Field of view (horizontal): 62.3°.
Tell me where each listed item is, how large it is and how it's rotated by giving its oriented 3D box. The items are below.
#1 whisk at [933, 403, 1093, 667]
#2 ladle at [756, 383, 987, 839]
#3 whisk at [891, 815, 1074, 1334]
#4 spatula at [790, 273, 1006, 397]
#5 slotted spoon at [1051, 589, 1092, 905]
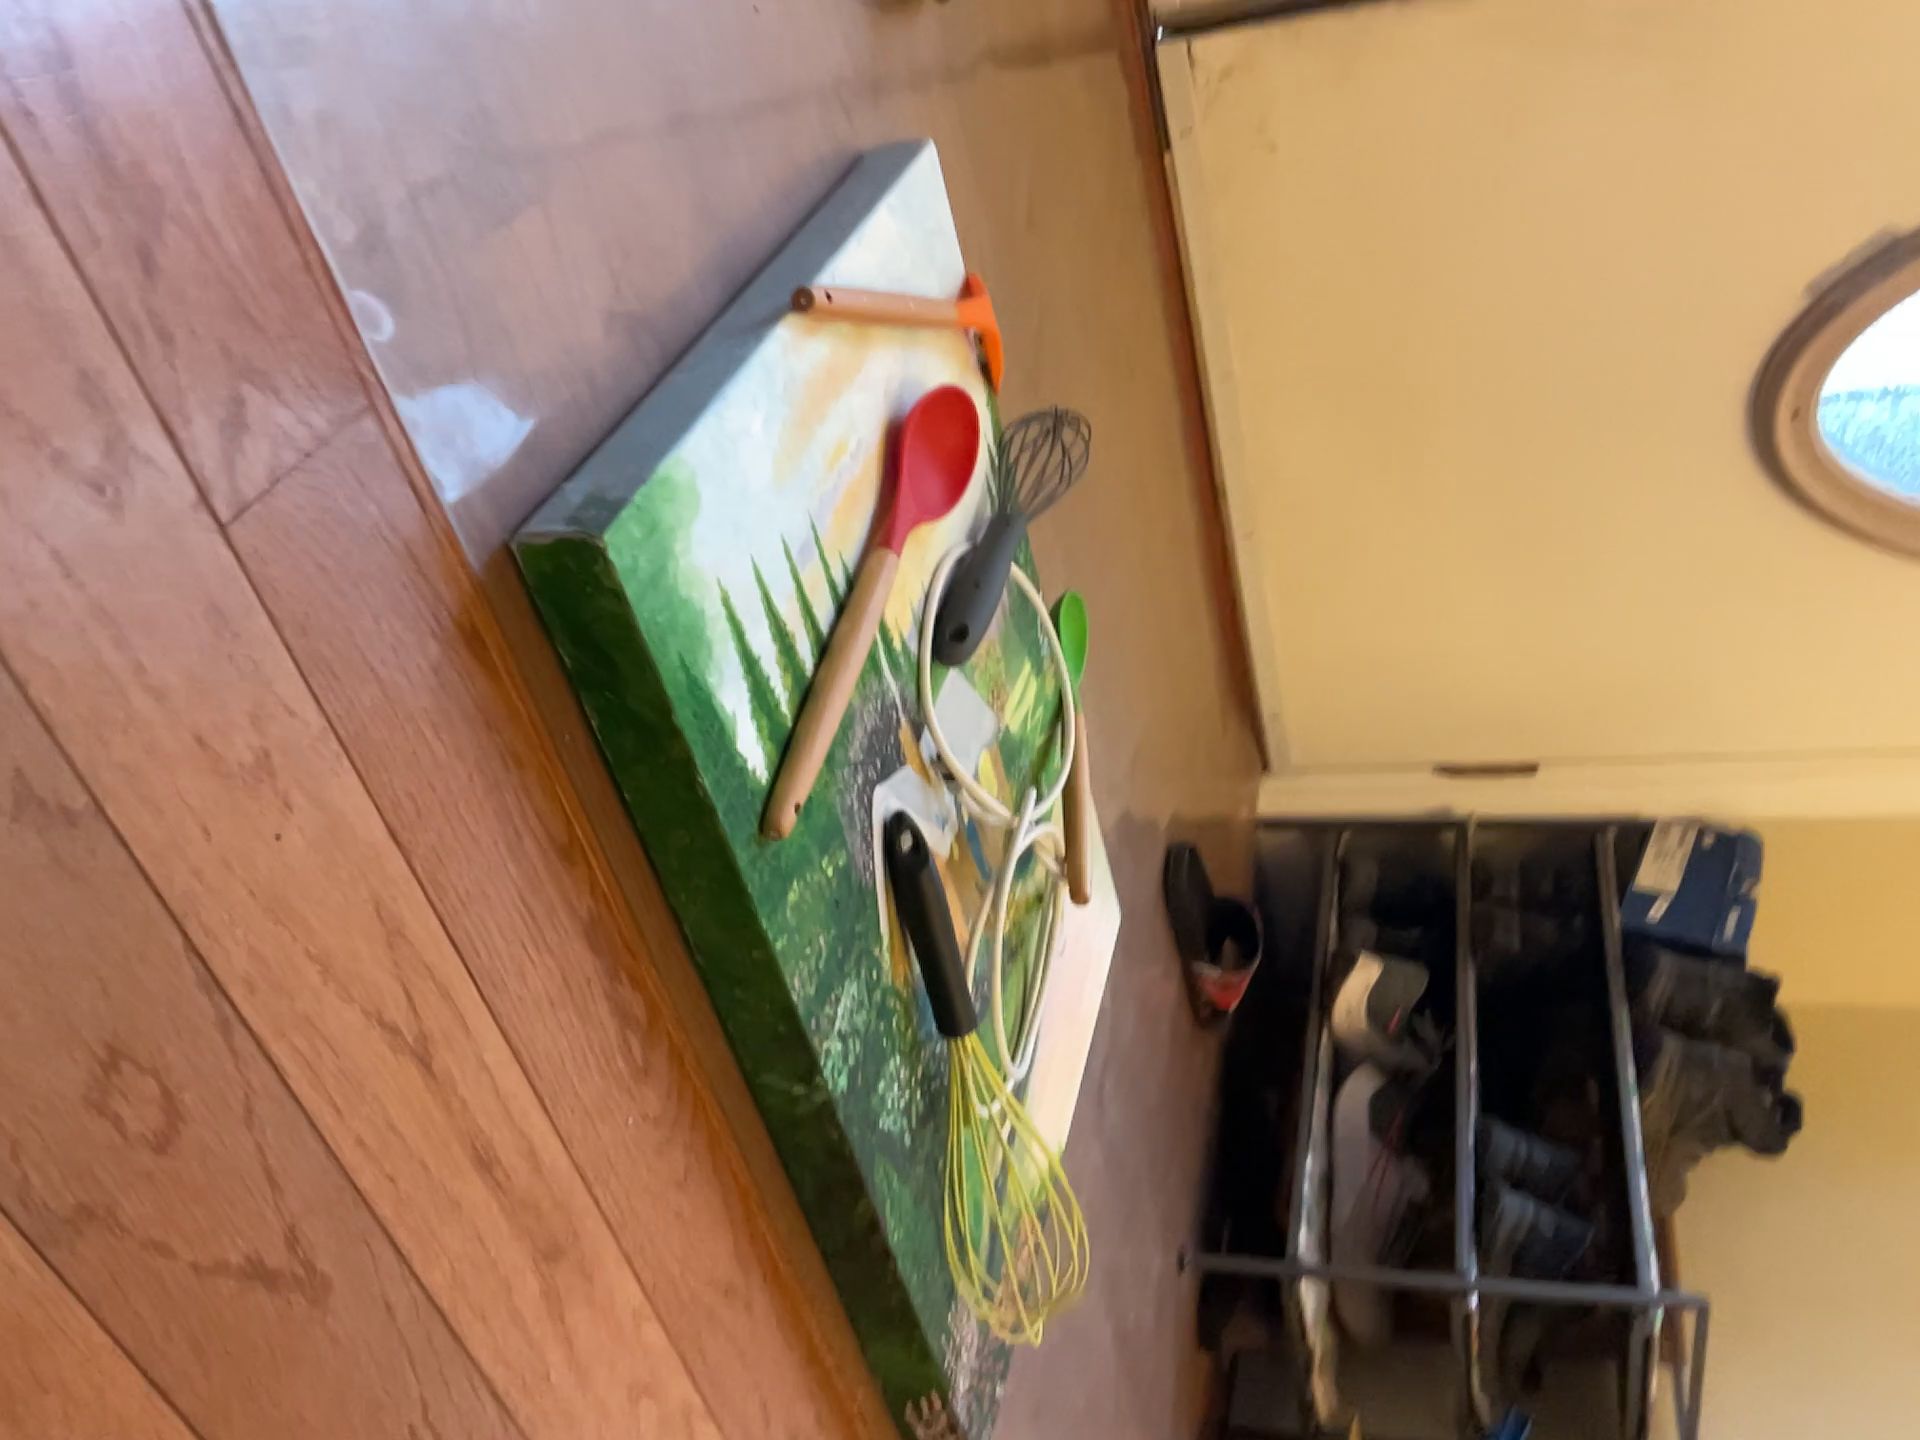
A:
[{"bbox_3d":[0.031,-0.116,0.965,0.055,0.055,0.239,59,39,-35],"label":"whisk"},{"bbox_3d":[-0.042,-0.063,0.784,0.316,0.031,0.069,-70,149,-41],"label":"ladle"},{"bbox_3d":[0.005,0.195,0.856,0.080,0.067,0.311,-54,132,-68],"label":"whisk"},{"bbox_3d":[-0.024,-0.221,0.878,0.322,0.041,0.081,-29,104,-66],"label":"spatula"},{"bbox_3d":[0.077,0.012,1.088,0.314,0.031,0.070,-86,163,-52],"label":"slotted spoon"}]
